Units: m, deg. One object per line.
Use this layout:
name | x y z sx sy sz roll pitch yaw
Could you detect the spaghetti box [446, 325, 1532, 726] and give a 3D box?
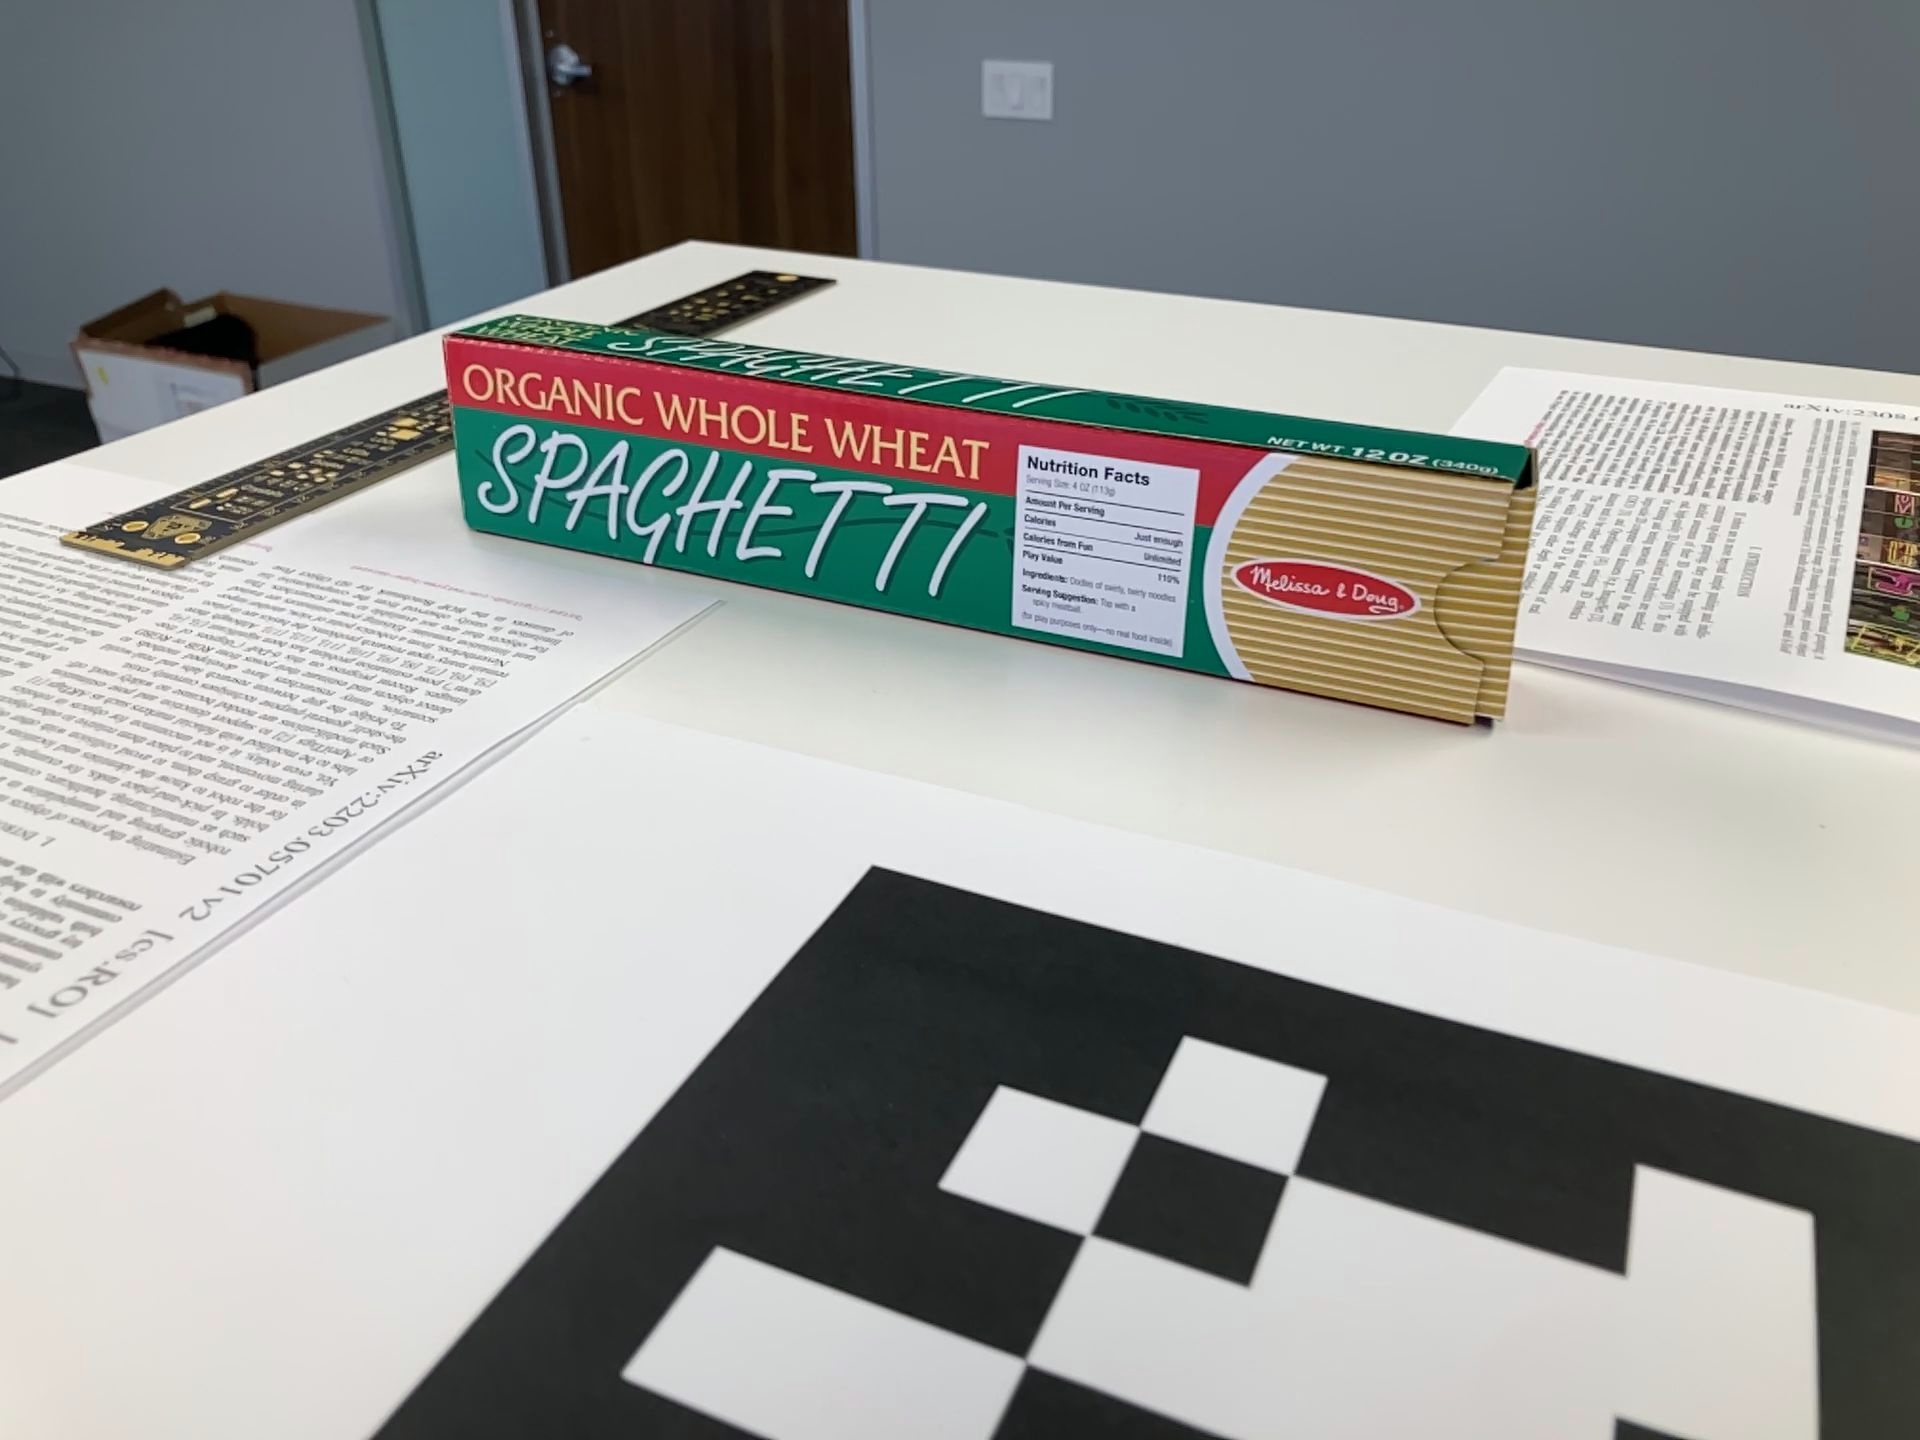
spaghetti box | -0.007 -0.050 0.353 0.250 0.050 0.028 12 26 22
